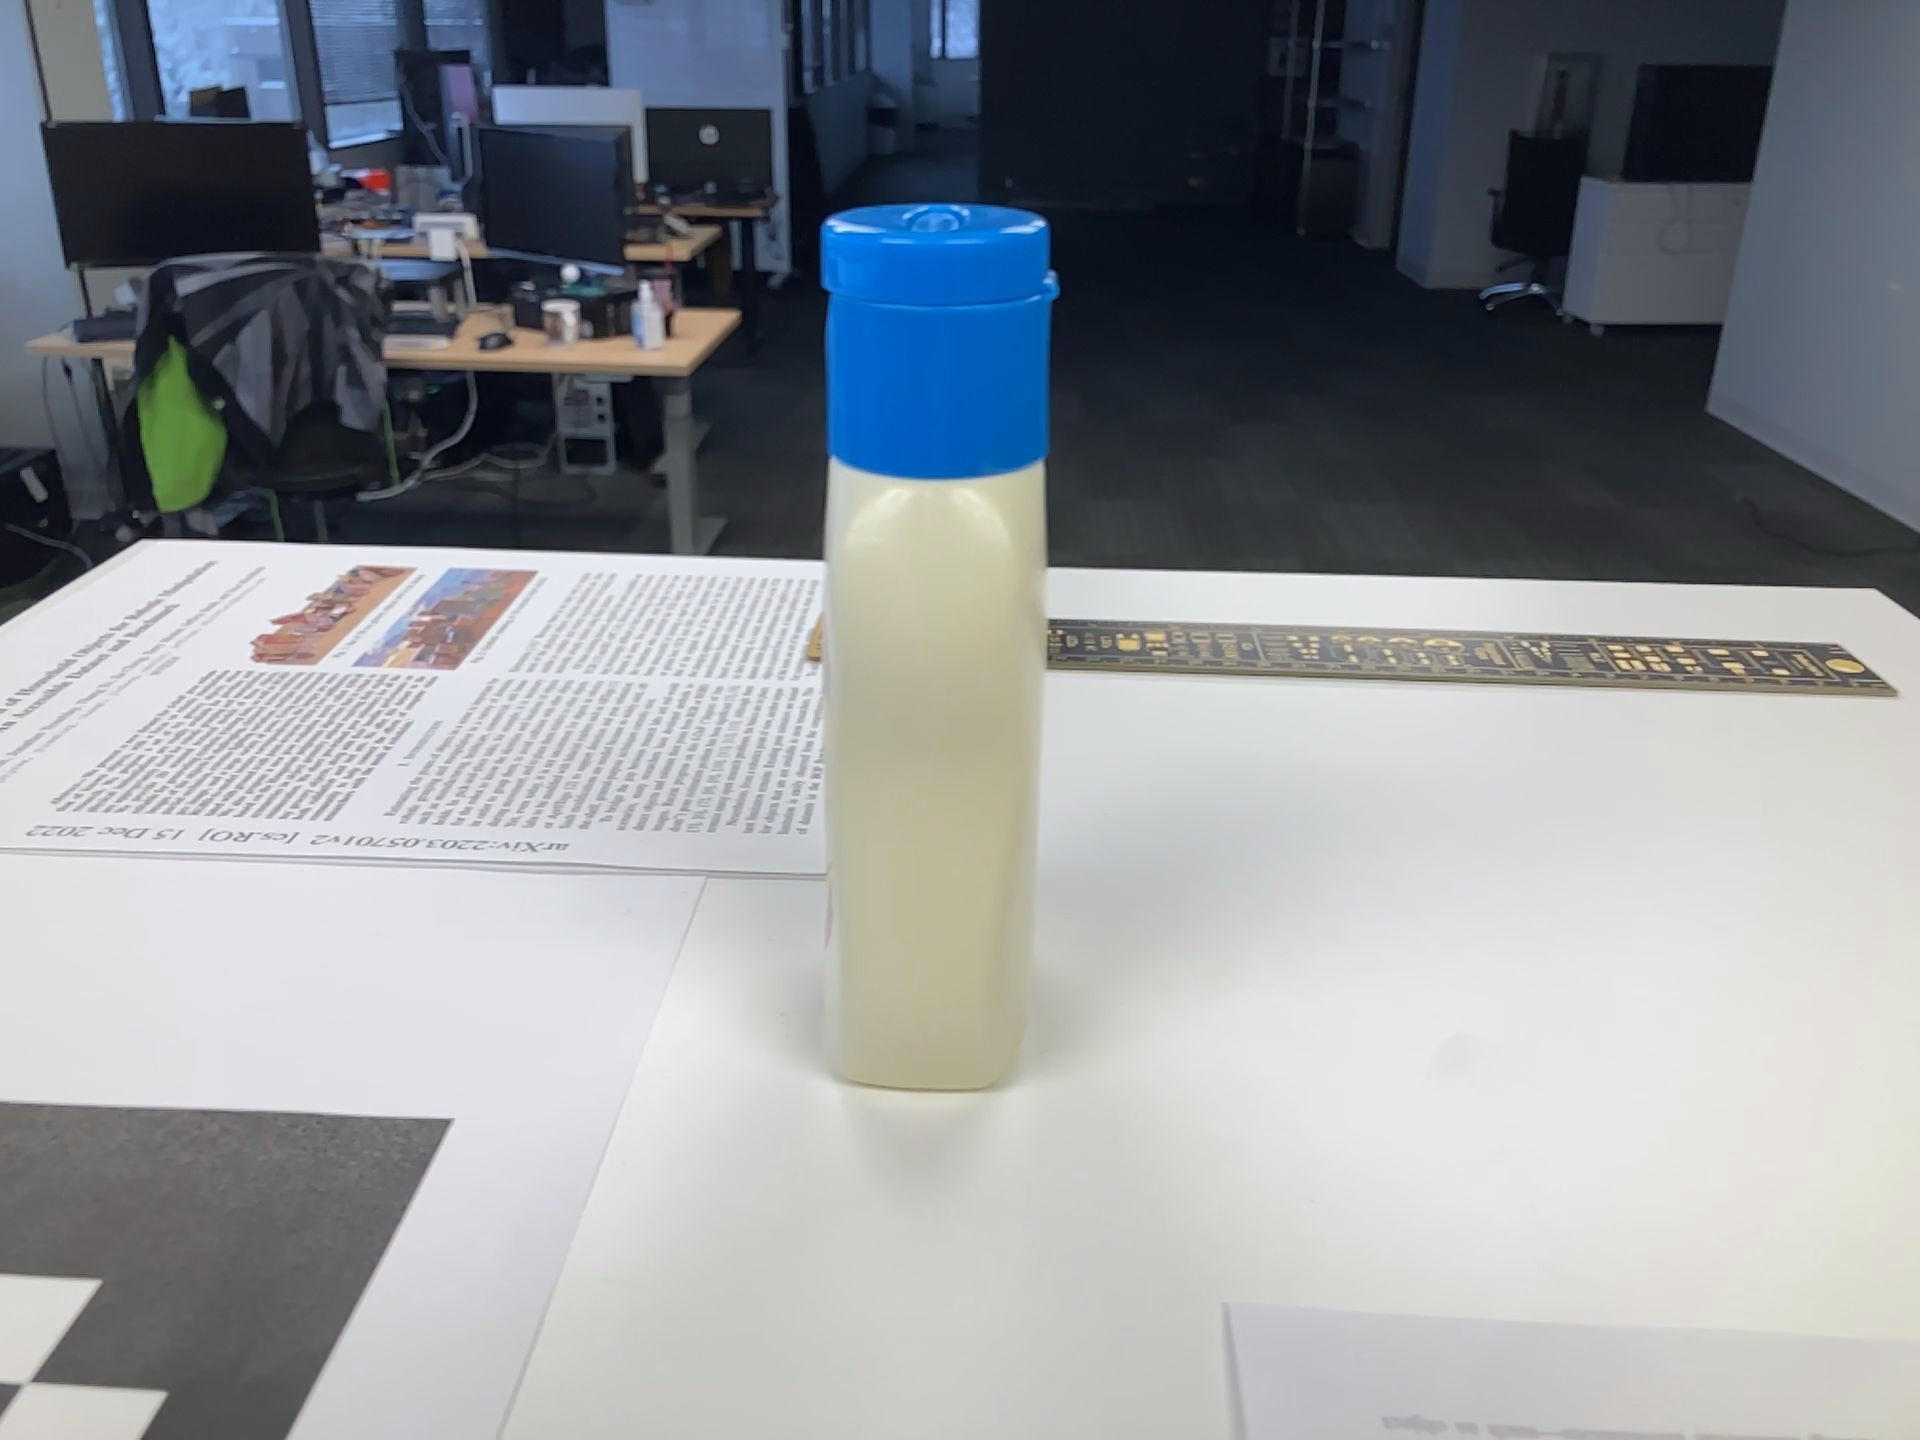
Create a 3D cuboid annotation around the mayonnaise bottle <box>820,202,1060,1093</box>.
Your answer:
[{"bbox_3d":[-0.005,-0.012,0.277,0.041,0.148,0.065,1,23,2],"label":"mayonnaise bottle"}]
